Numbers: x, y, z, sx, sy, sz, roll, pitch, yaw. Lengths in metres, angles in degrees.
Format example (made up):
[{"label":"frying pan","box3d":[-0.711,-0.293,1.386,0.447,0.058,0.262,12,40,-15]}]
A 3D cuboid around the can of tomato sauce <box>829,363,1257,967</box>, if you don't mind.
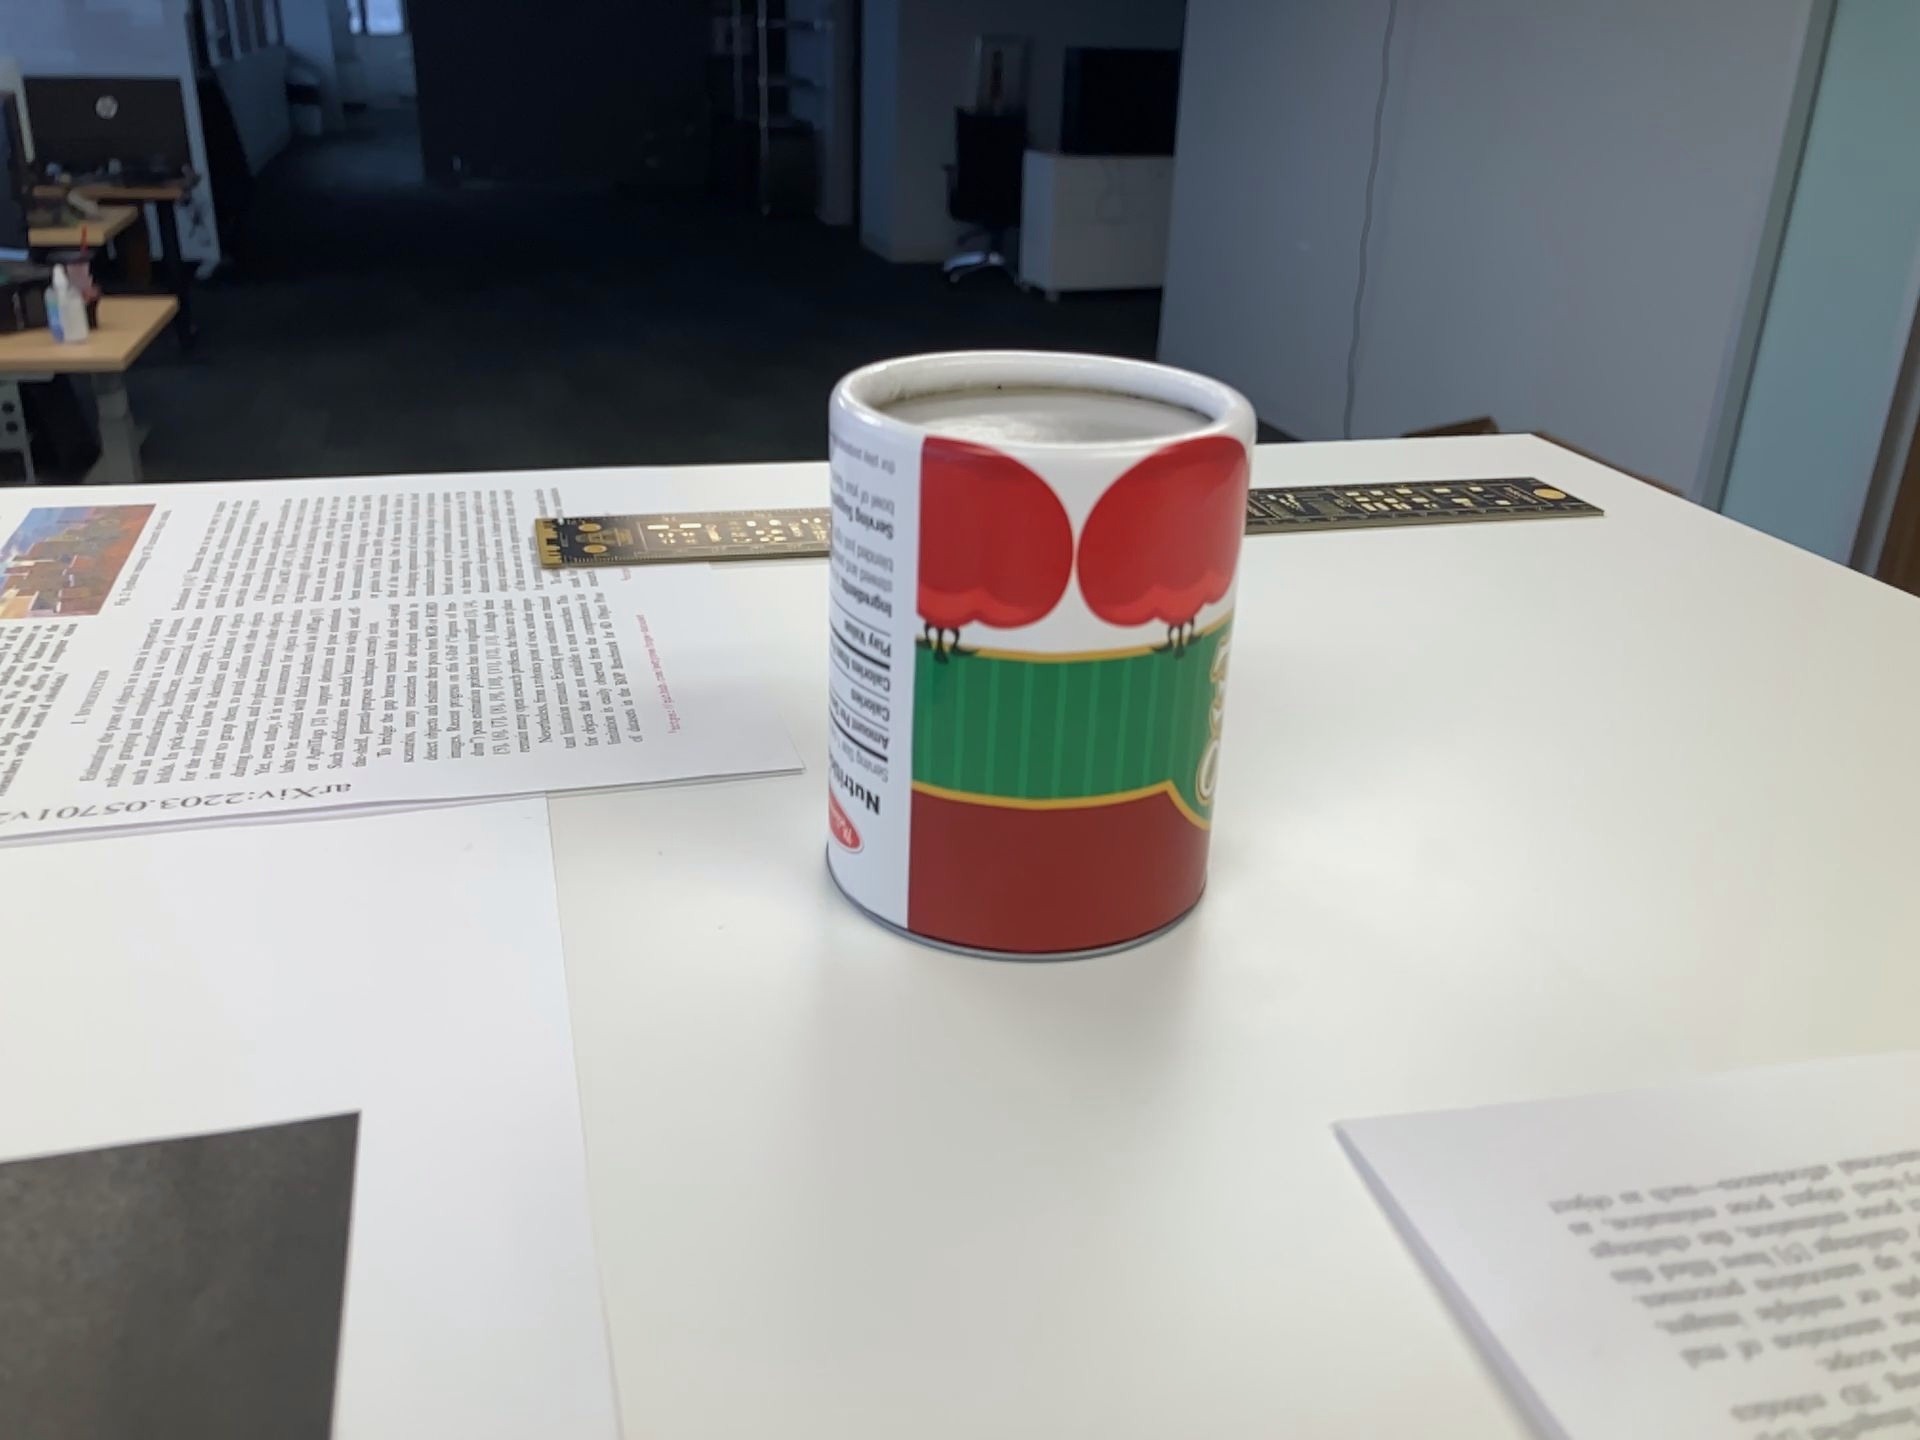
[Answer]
[{"label":"can of tomato sauce","box3d":[0.014,-0.012,0.263,0.071,0.083,0.071,2,21,-1]}]
